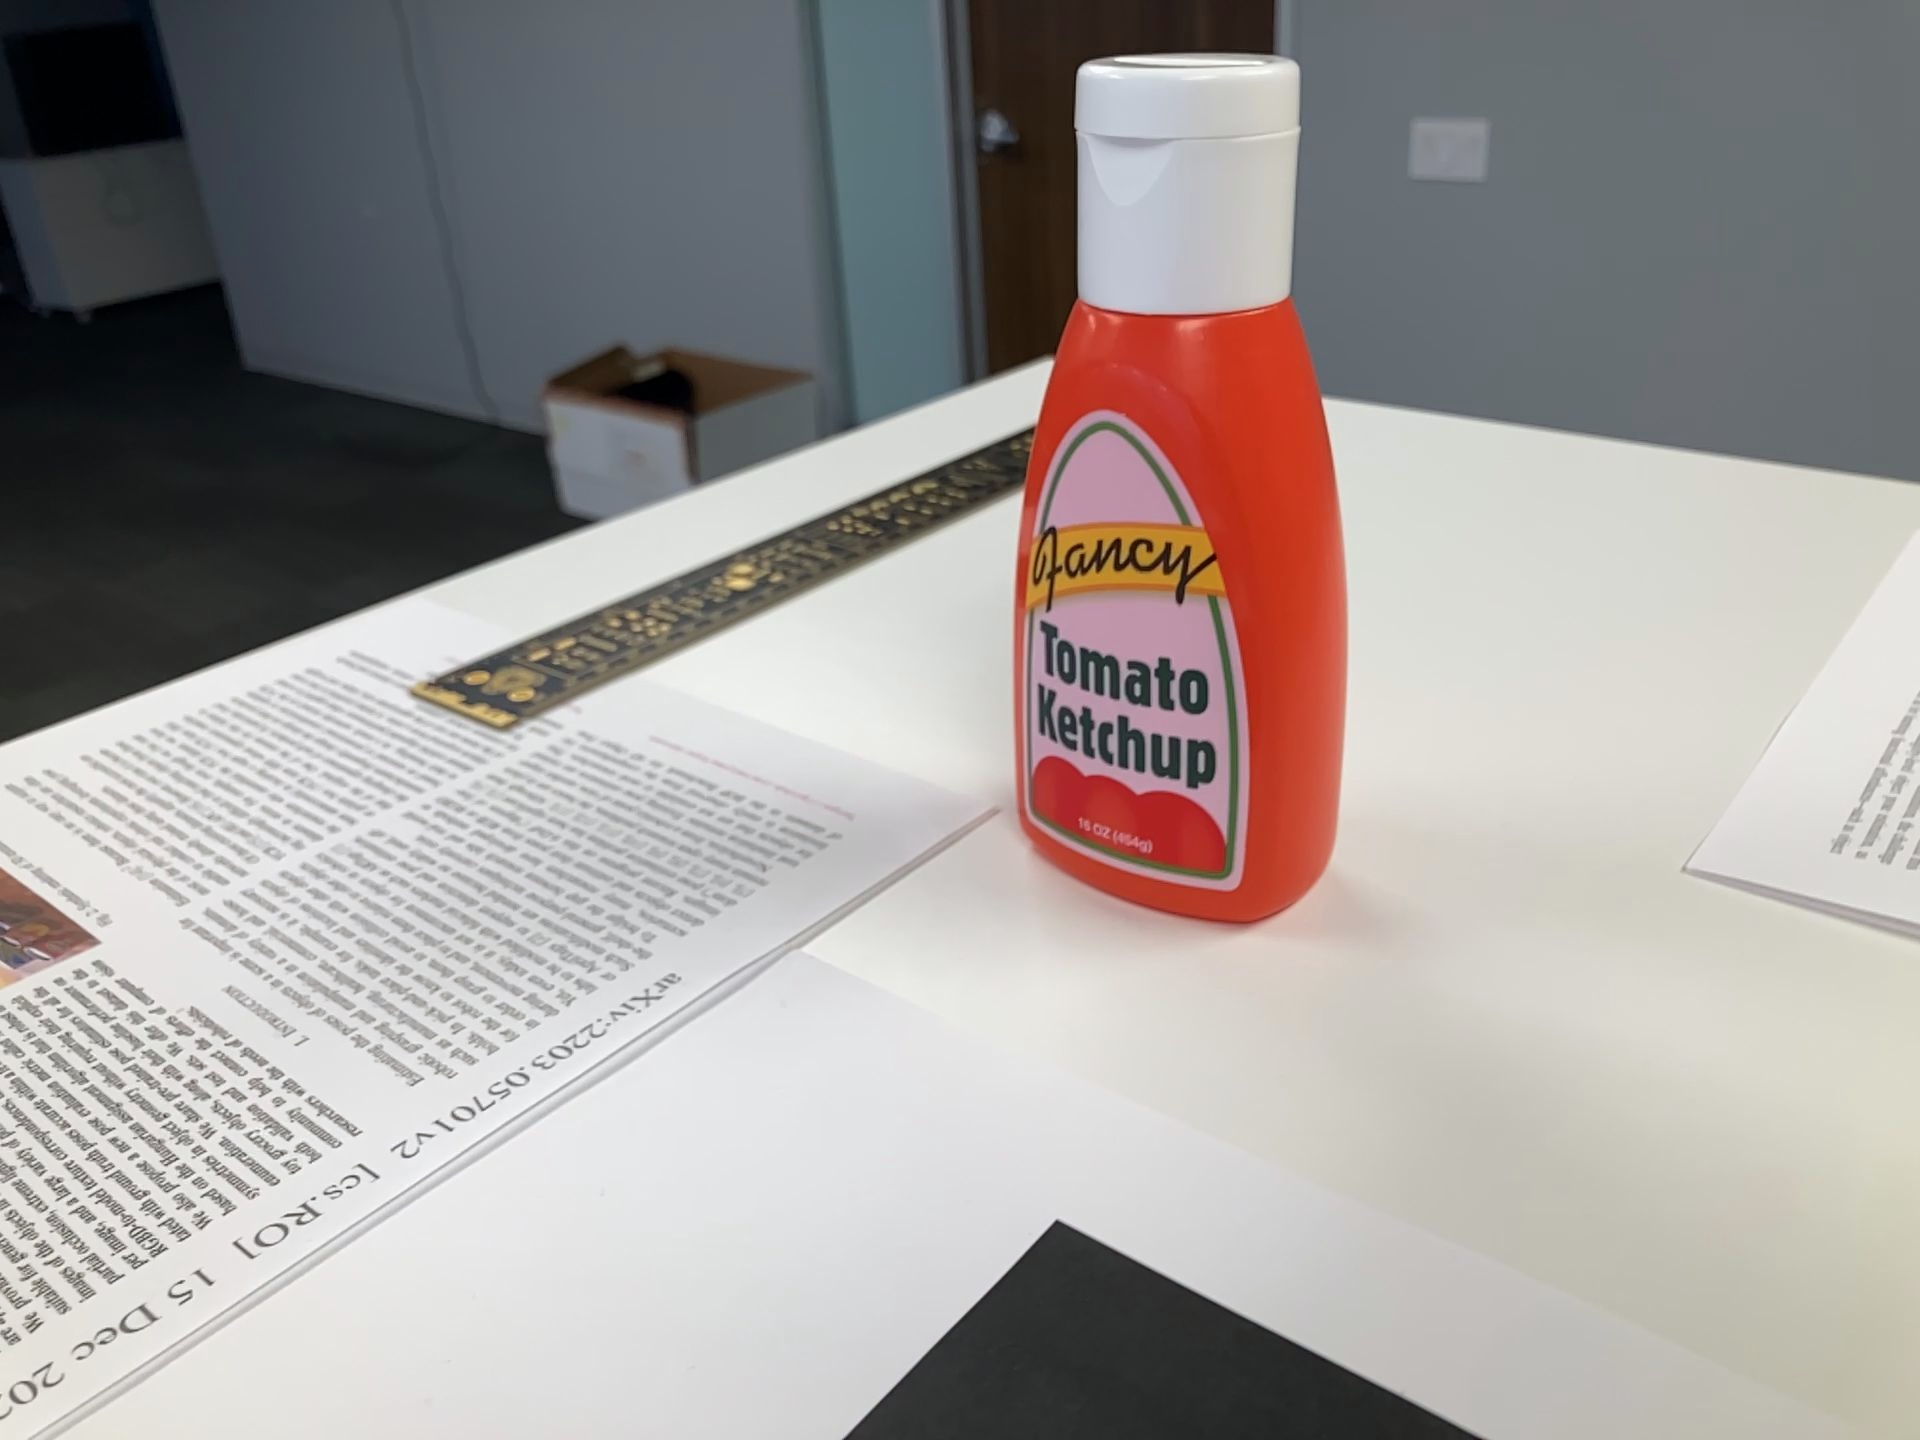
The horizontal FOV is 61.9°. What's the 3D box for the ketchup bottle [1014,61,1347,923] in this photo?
[{"bbox_3d":[0.040,-0.039,0.292,0.065,0.149,0.043,18,31,37],"label":"ketchup bottle"}]
